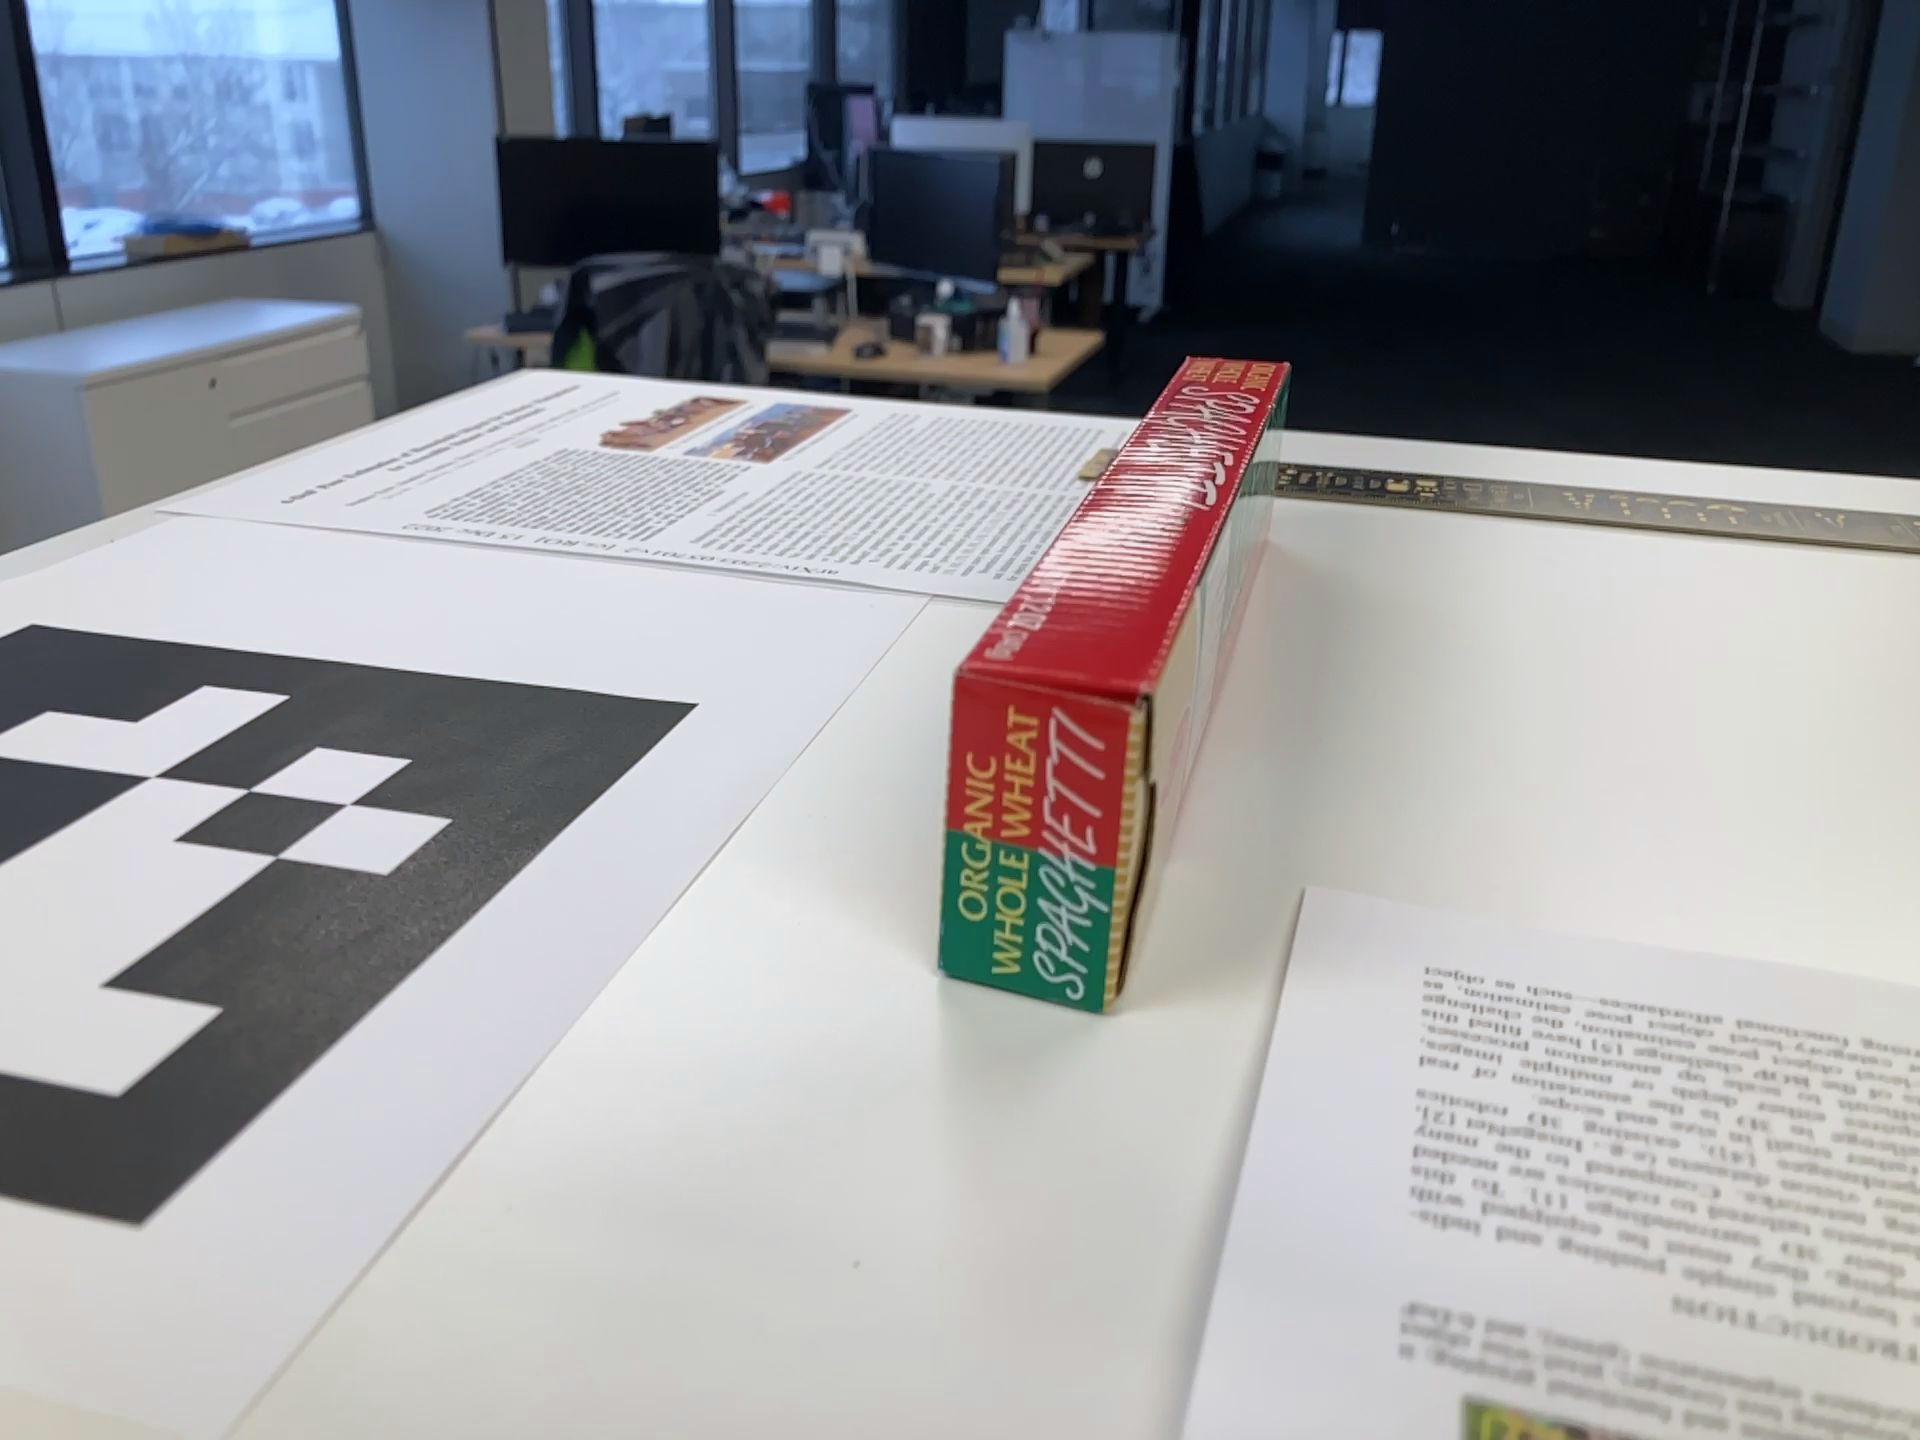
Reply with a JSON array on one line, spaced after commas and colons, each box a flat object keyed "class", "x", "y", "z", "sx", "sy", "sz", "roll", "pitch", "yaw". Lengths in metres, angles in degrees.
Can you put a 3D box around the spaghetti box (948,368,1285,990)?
[{"class": "spaghetti box", "x": 0.043, "y": -0.029, "z": 0.333, "sx": 0.028, "sy": 0.050, "sz": 0.250, "roll": 9, "pitch": 23, "yaw": 12}]
